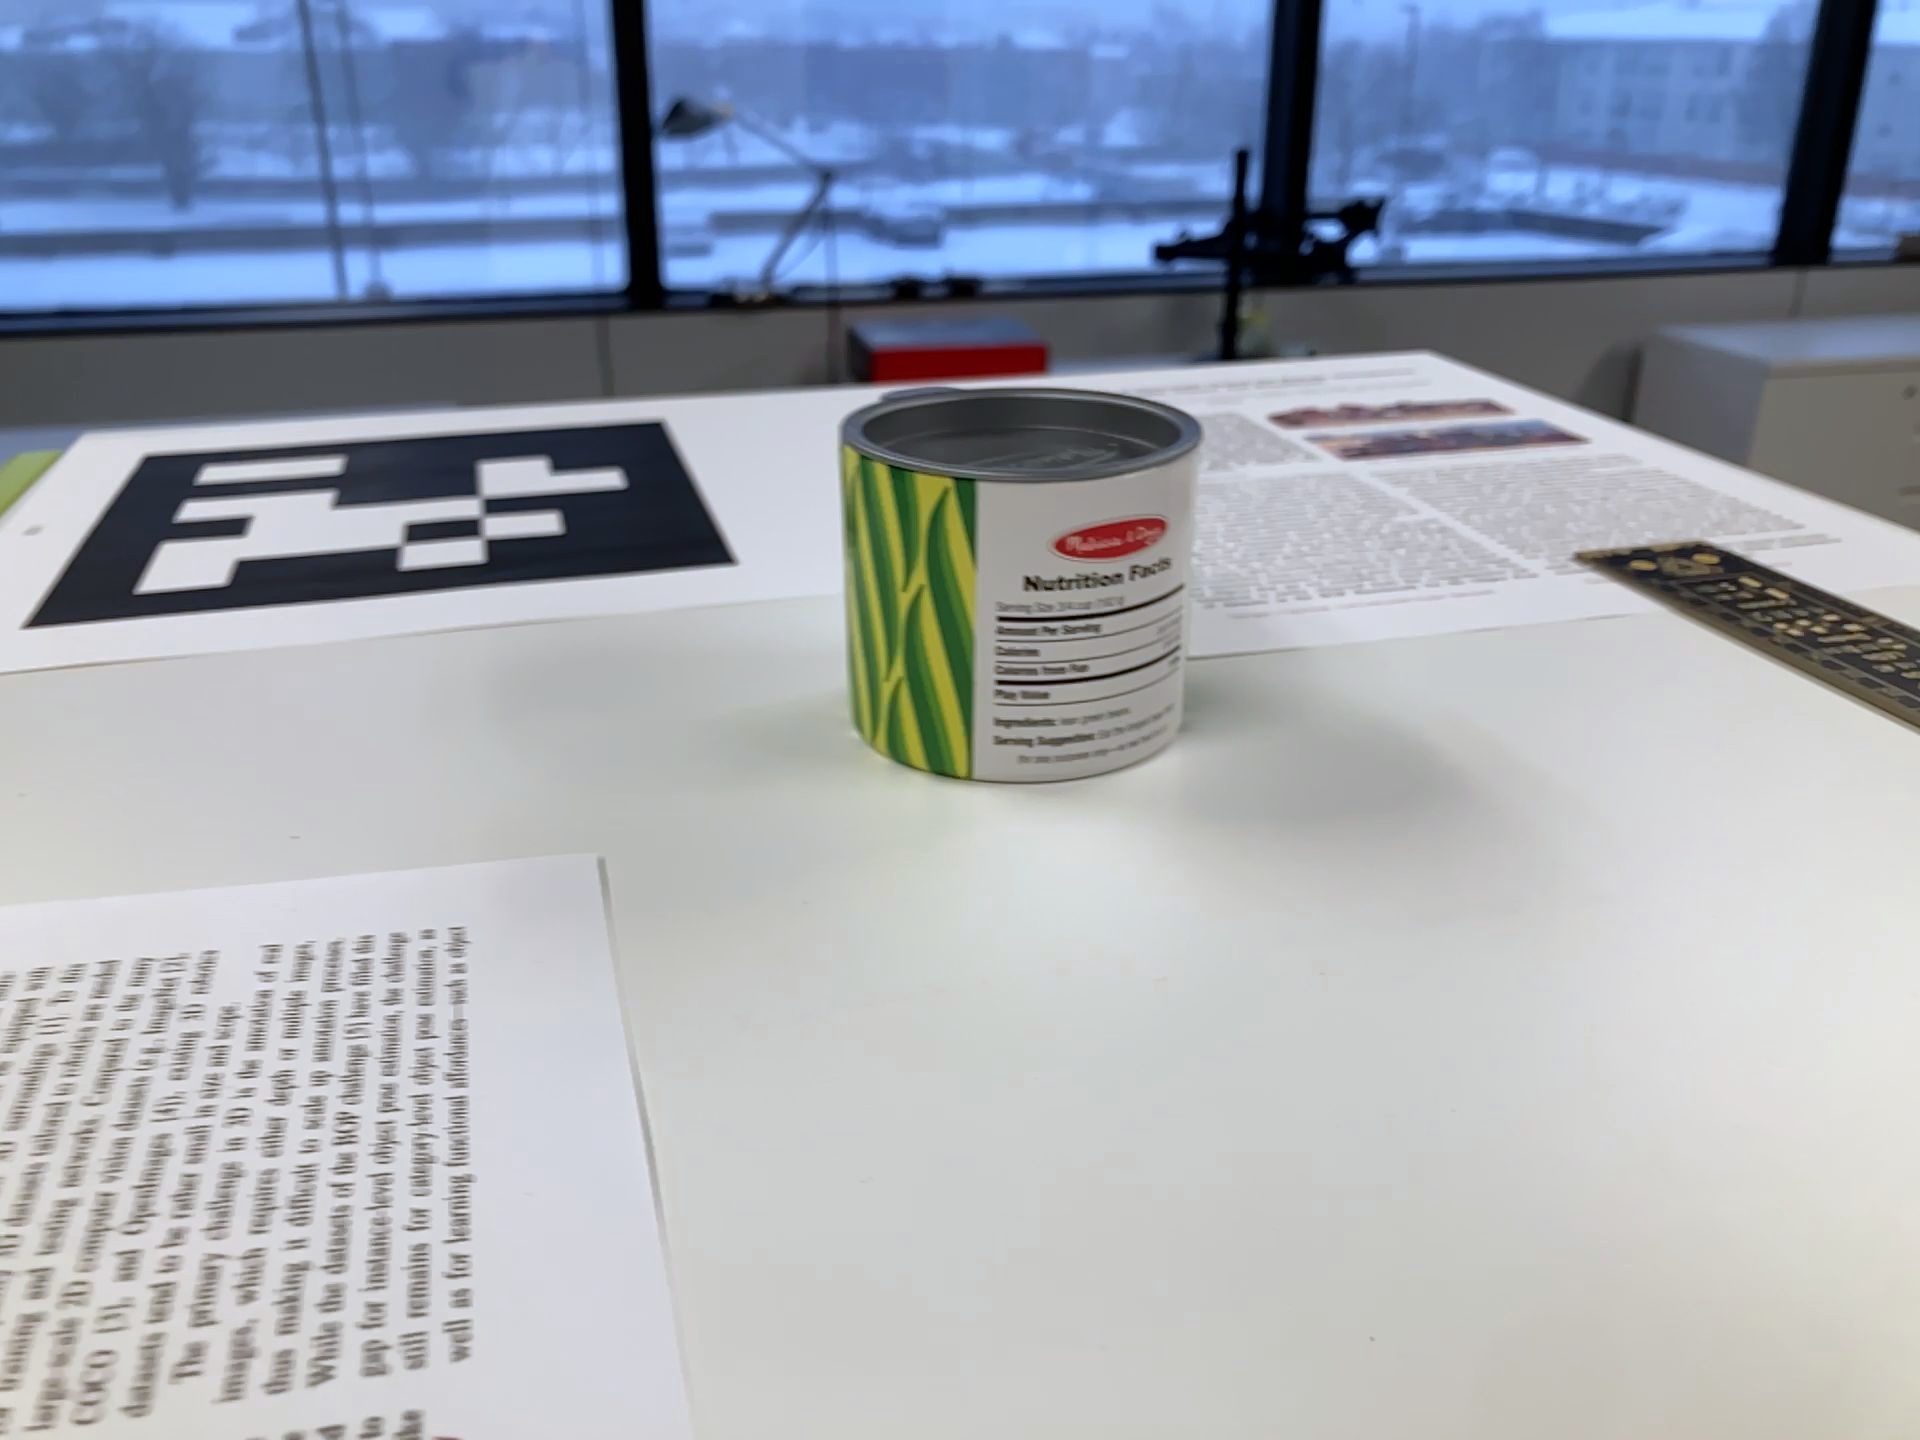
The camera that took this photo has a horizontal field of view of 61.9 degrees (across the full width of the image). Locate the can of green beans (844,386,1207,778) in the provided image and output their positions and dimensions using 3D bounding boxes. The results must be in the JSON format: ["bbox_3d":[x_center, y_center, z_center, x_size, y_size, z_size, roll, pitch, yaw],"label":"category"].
[{"bbox_3d":[0.011,-0.028,0.304,0.071,0.058,0.071,1,23,0],"label":"can of green beans"}]
